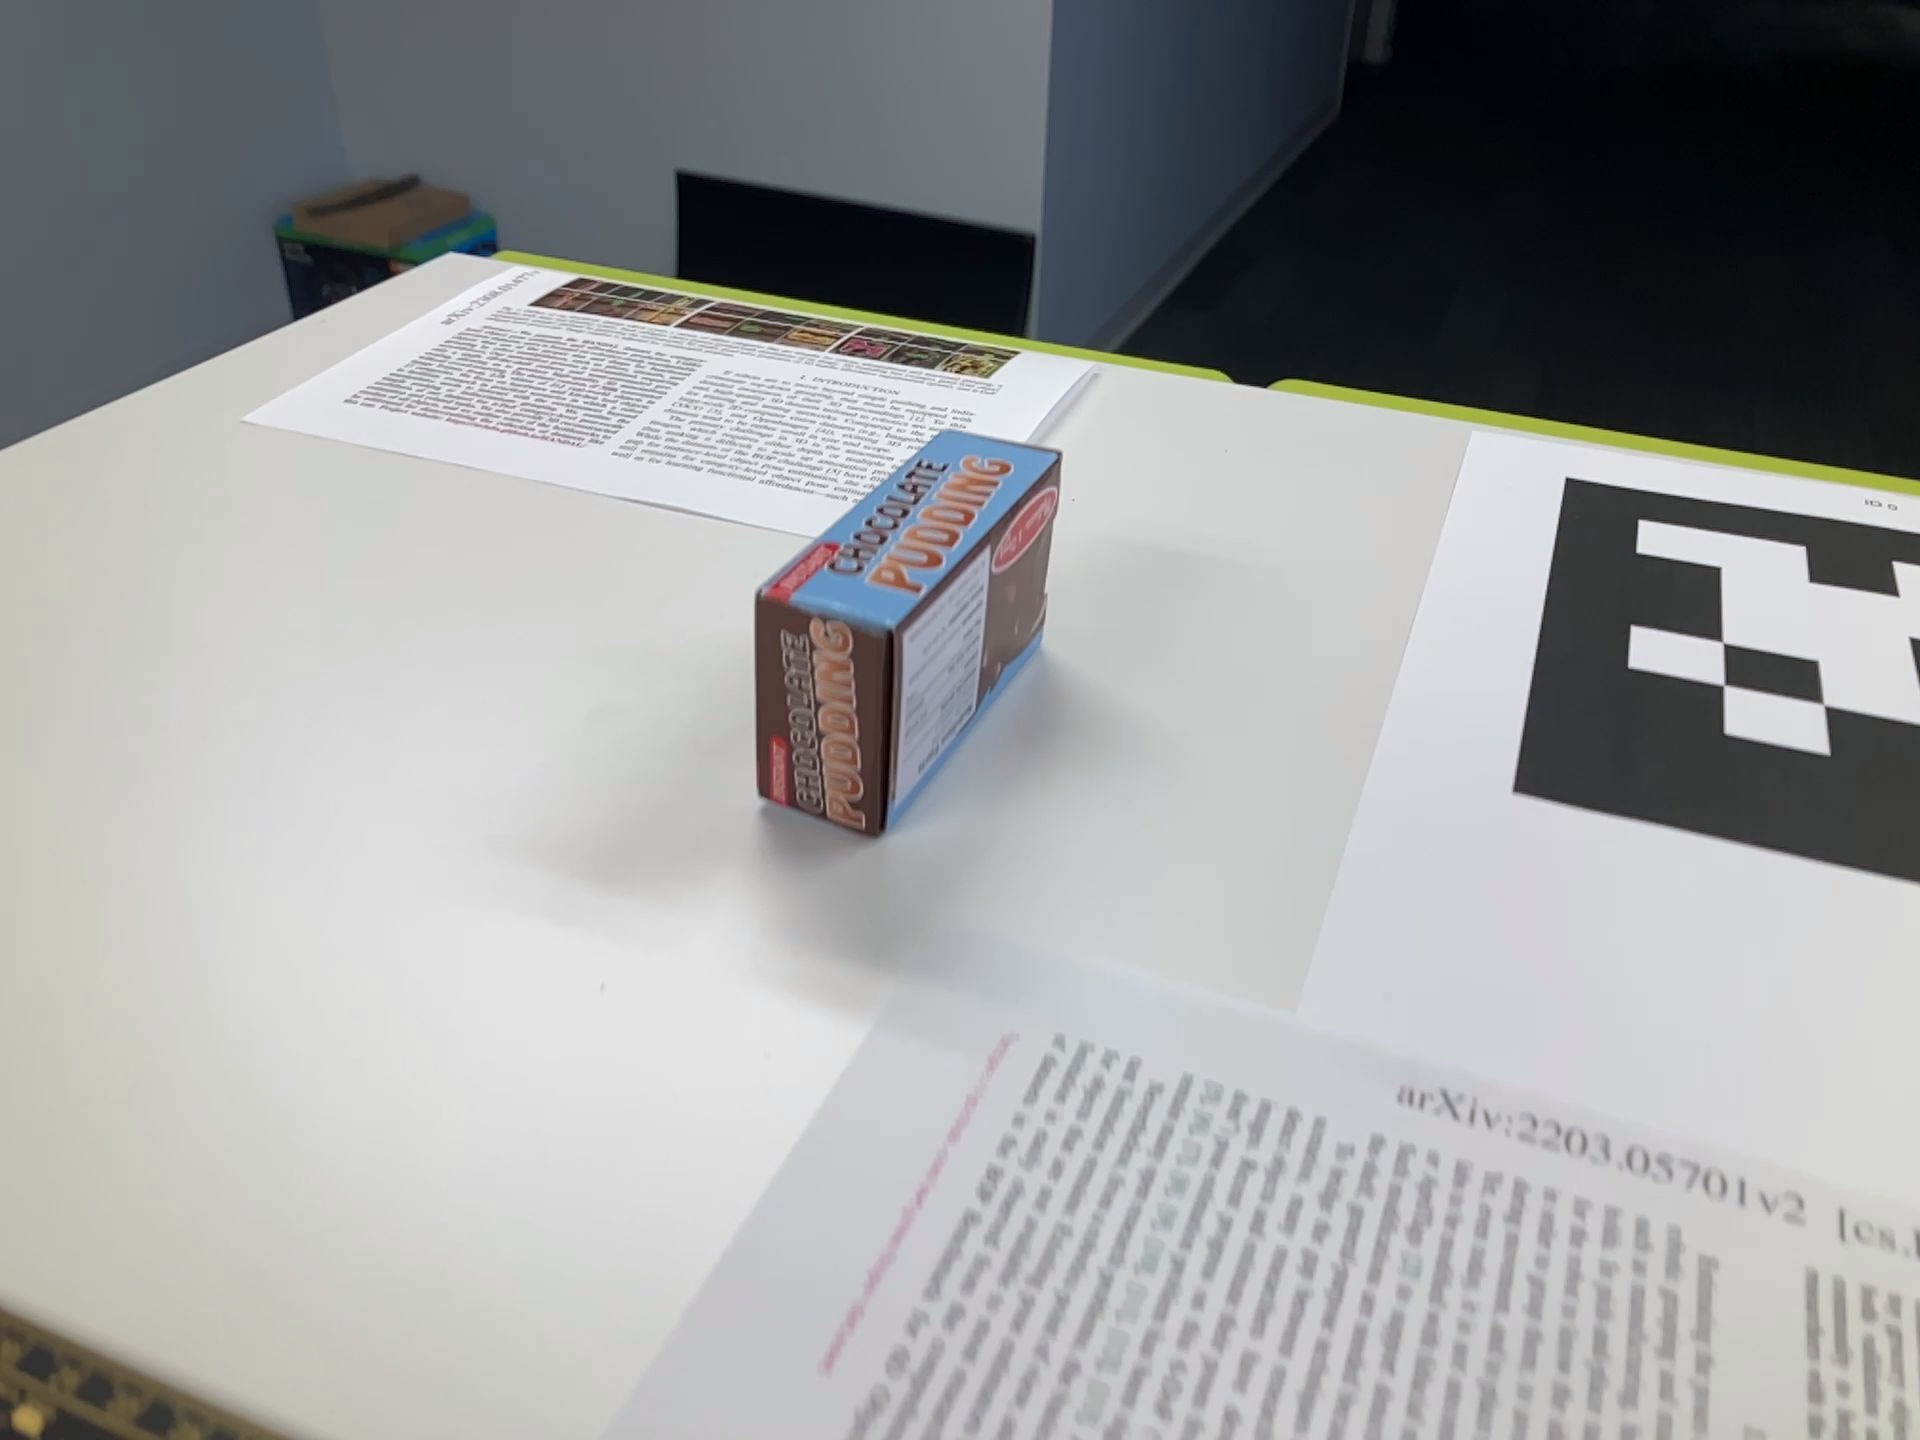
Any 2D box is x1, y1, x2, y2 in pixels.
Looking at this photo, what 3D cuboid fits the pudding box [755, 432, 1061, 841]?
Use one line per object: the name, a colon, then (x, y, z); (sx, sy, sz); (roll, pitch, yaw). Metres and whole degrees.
pudding box: (-0.009, -0.019, 0.322); (0.030, 0.049, 0.083); (17, 37, 18)
